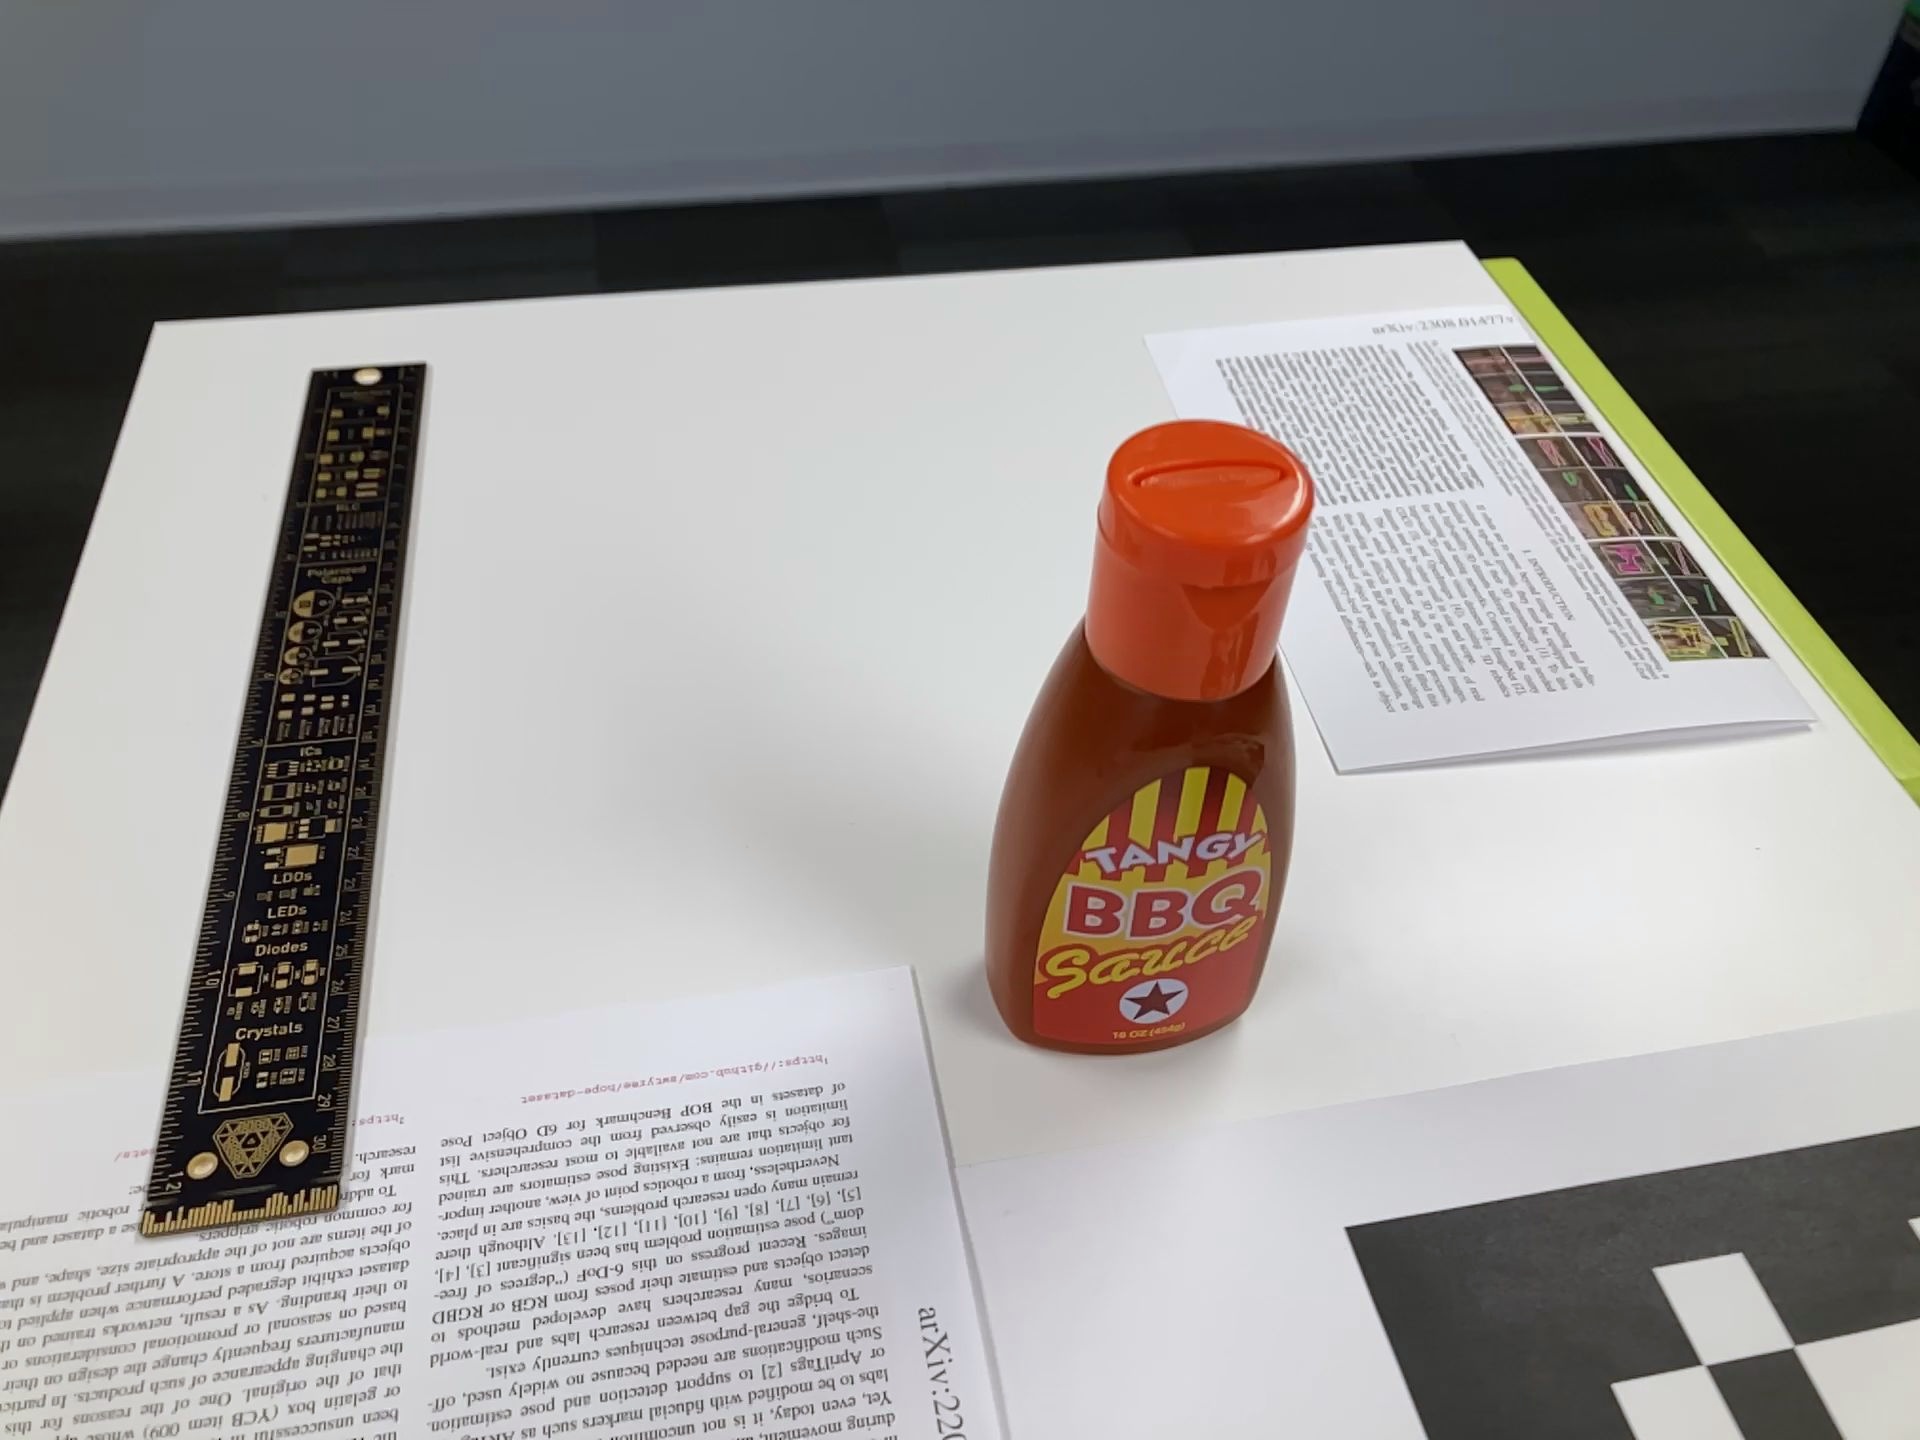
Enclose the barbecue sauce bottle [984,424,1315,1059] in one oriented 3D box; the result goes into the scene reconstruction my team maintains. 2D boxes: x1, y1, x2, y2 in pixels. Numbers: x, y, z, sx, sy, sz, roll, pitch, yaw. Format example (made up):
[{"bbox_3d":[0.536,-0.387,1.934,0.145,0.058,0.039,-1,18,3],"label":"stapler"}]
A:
[{"bbox_3d":[0.040,0.011,0.326,0.065,0.148,0.043,-5,45,-9],"label":"barbecue sauce bottle"}]
